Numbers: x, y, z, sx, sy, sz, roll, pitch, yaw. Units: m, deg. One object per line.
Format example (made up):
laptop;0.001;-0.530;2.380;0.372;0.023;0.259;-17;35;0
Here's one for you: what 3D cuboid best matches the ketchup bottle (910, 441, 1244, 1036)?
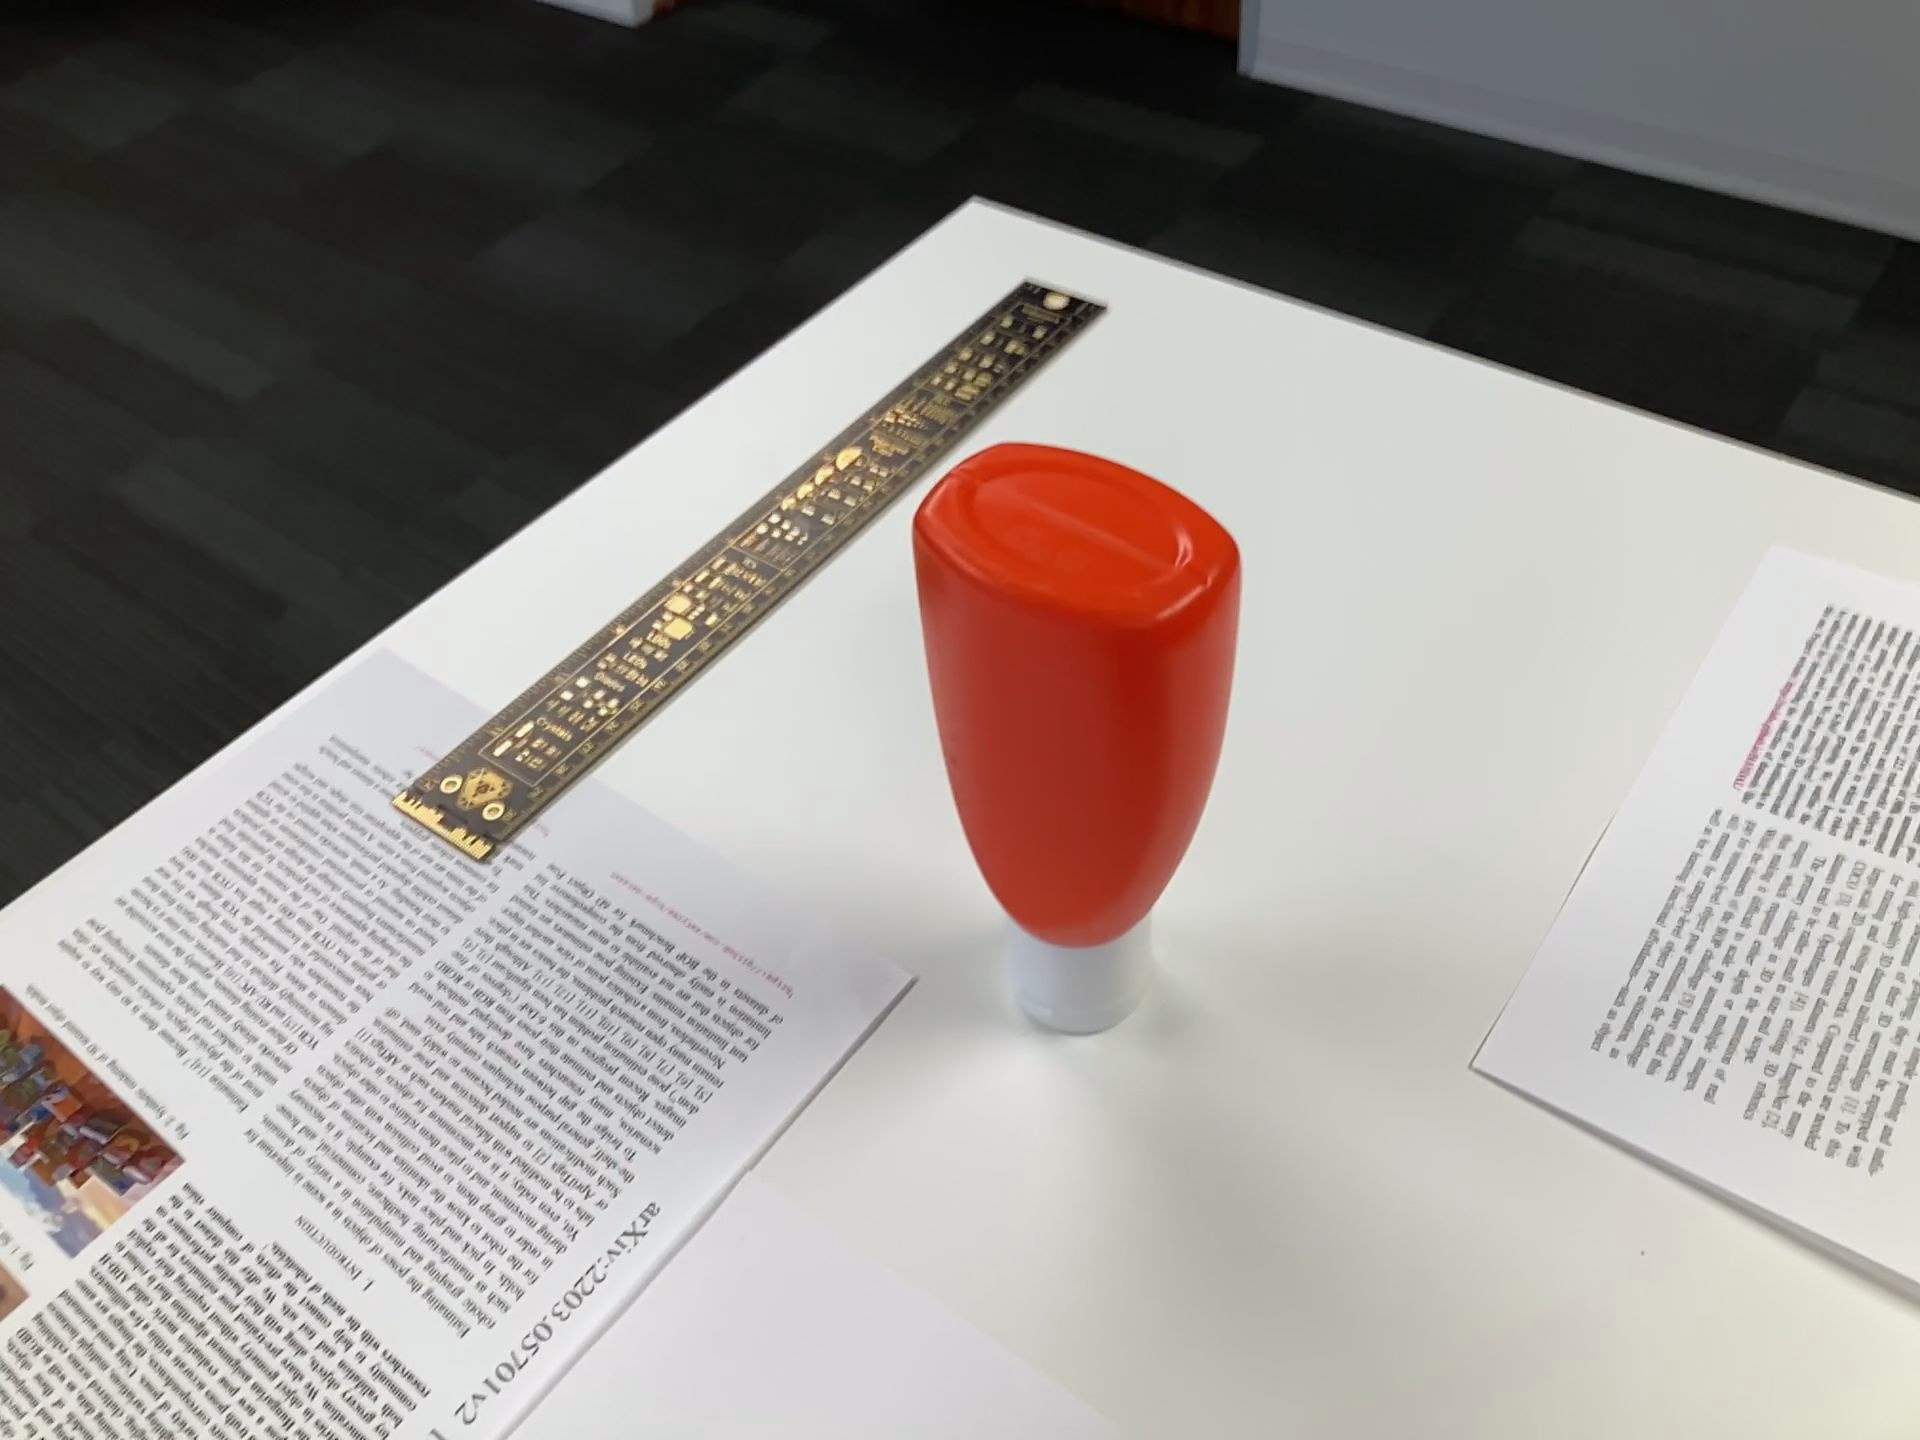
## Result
ketchup bottle;0.025;0.014;0.342;0.065;0.149;0.043;28;55;27
